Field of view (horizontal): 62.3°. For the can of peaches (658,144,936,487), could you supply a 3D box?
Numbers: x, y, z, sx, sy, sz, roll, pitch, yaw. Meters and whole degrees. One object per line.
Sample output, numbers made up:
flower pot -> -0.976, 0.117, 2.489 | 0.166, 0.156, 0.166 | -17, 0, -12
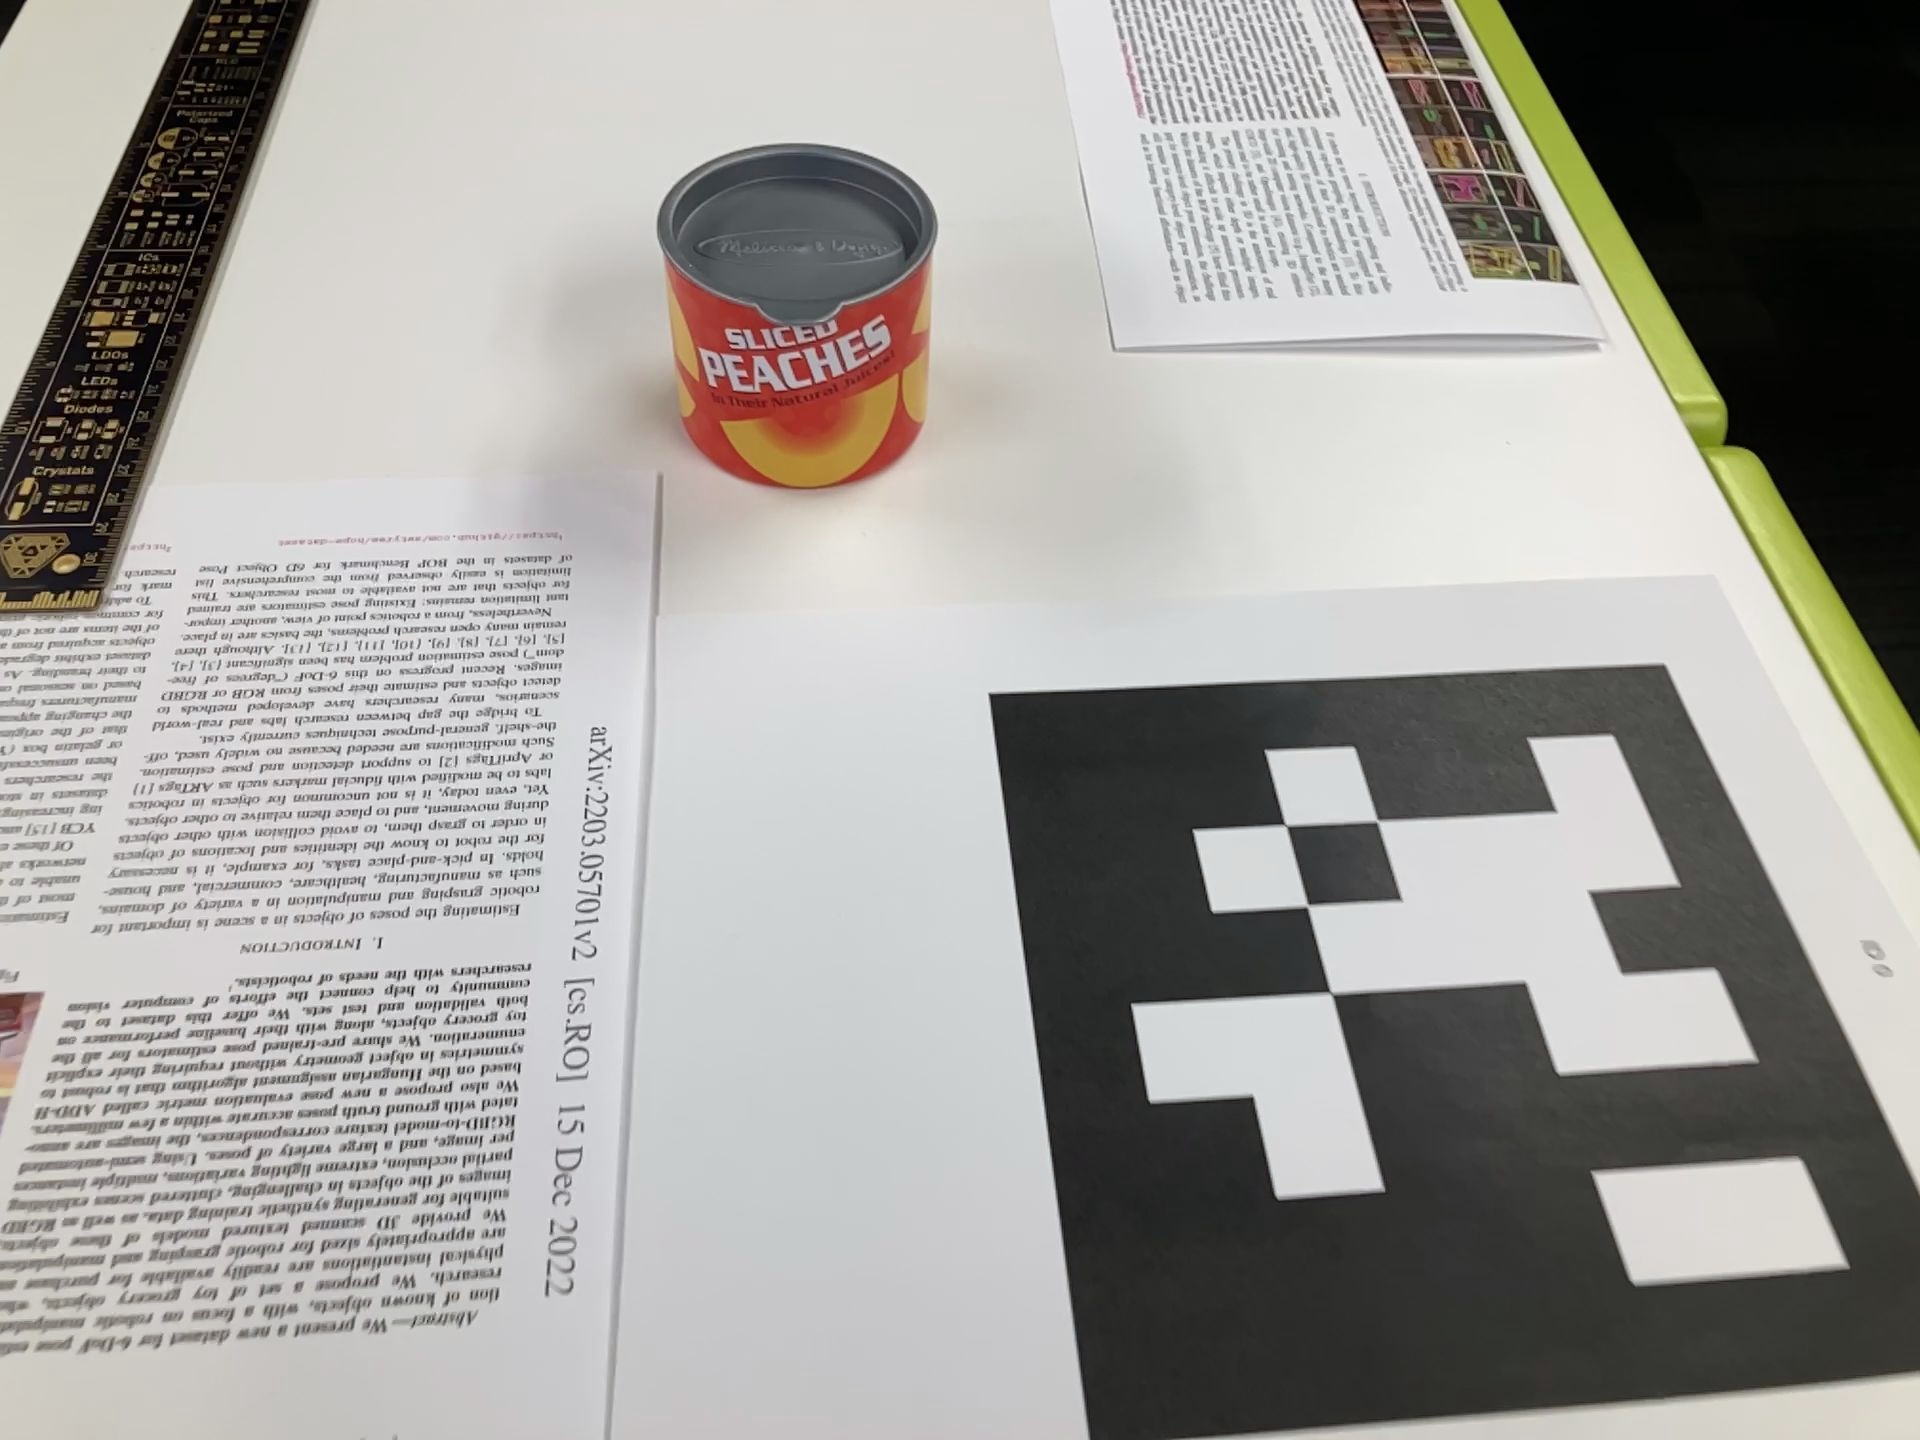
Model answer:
can of peaches -> -0.040, -0.100, 0.400 | 0.071, 0.058, 0.071 | 2, 52, -2
